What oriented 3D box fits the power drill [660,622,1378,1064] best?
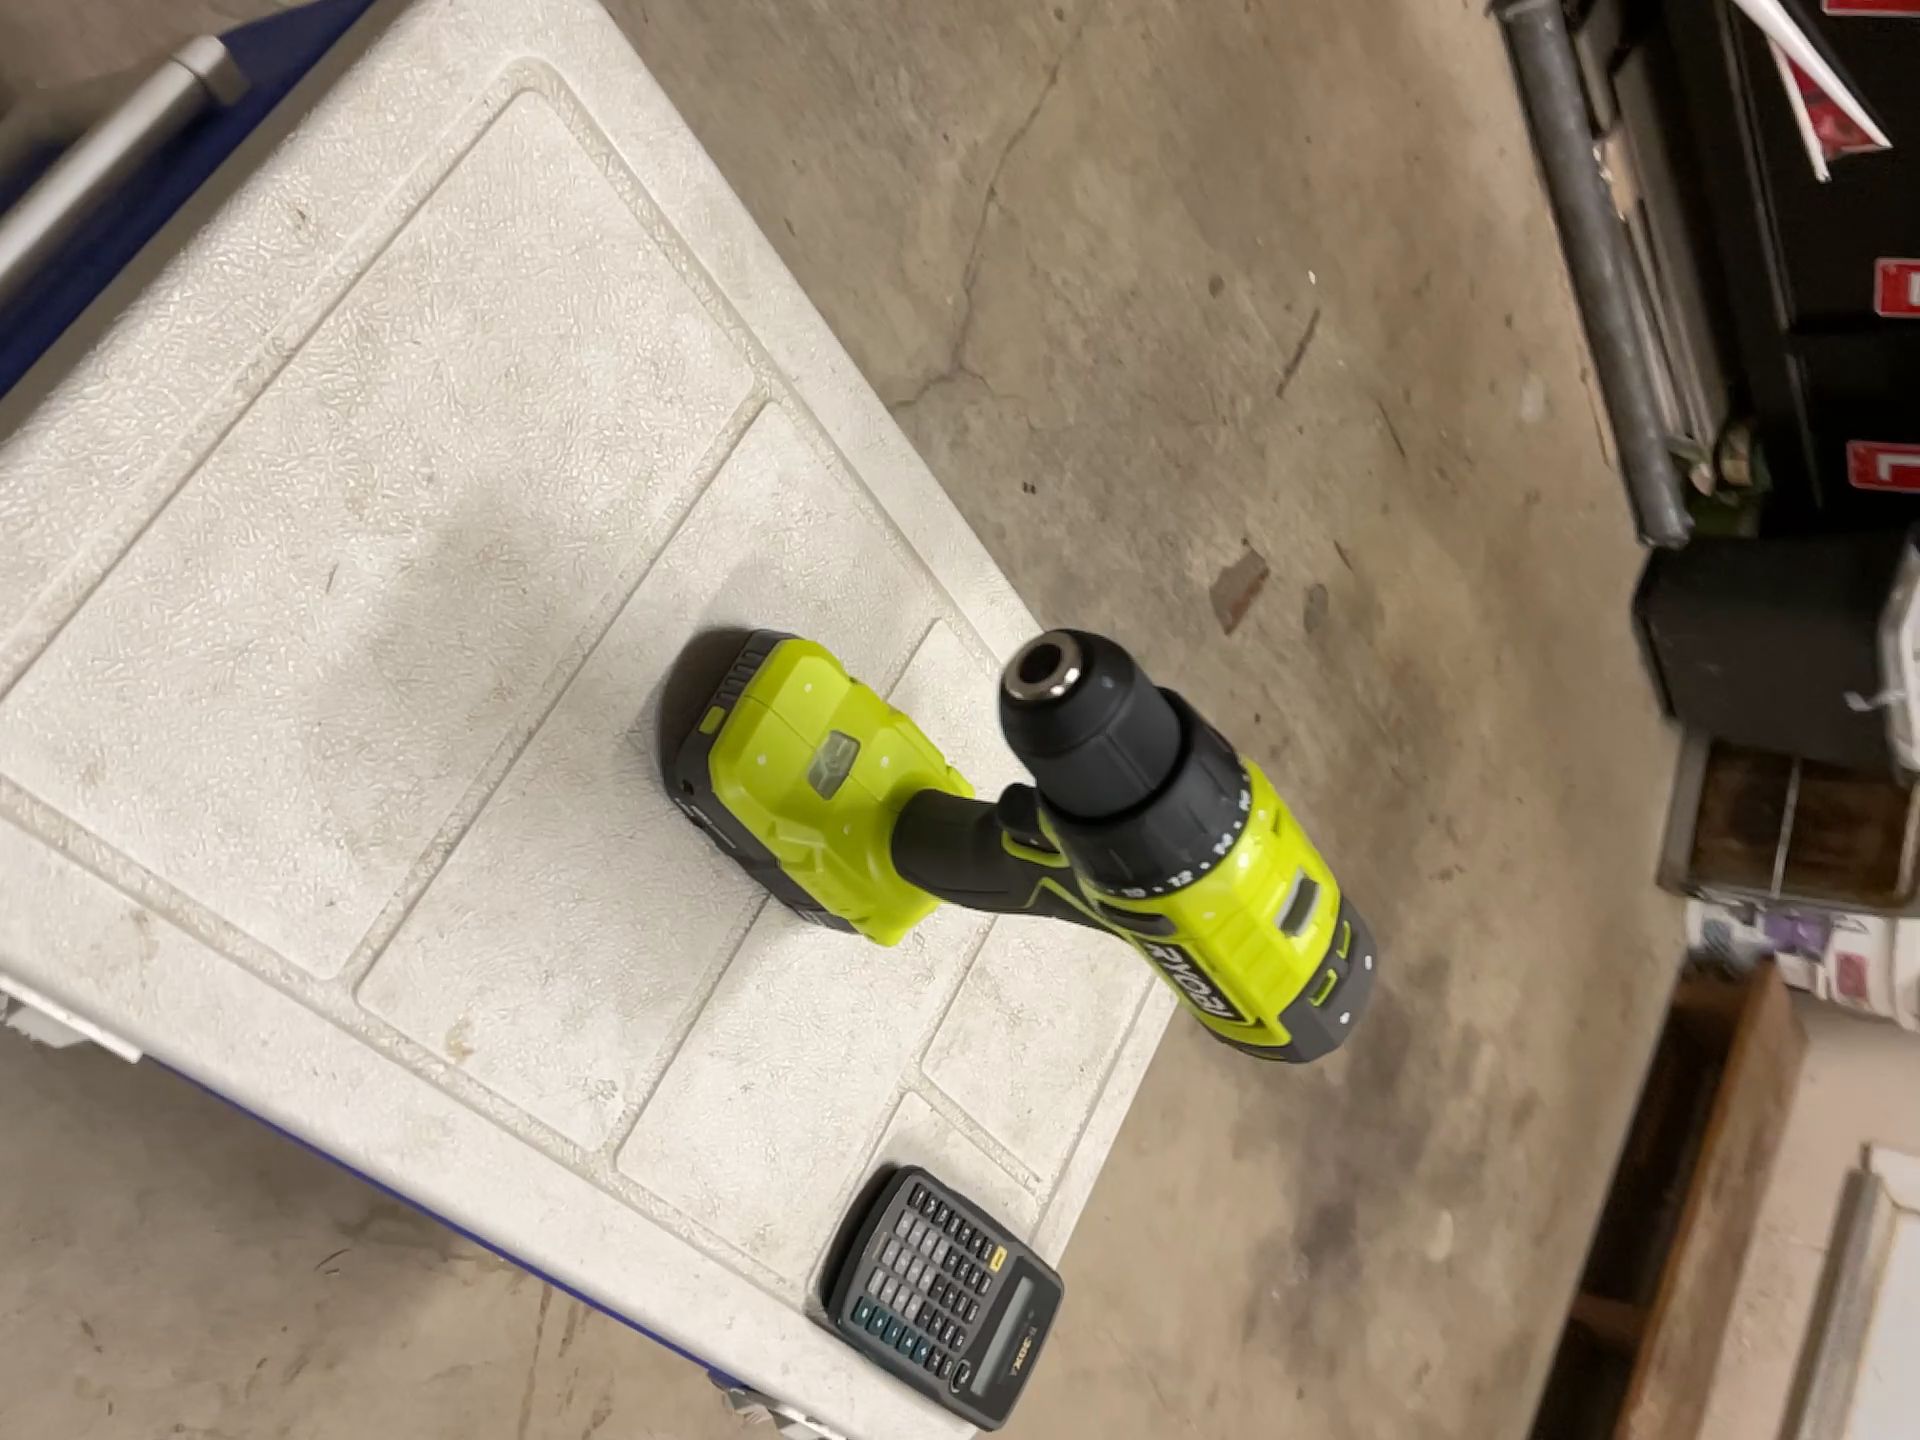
[{"bbox_3d":[0.008,0.029,0.534,0.190,0.228,0.080,49,61,-41],"label":"power drill"}]
